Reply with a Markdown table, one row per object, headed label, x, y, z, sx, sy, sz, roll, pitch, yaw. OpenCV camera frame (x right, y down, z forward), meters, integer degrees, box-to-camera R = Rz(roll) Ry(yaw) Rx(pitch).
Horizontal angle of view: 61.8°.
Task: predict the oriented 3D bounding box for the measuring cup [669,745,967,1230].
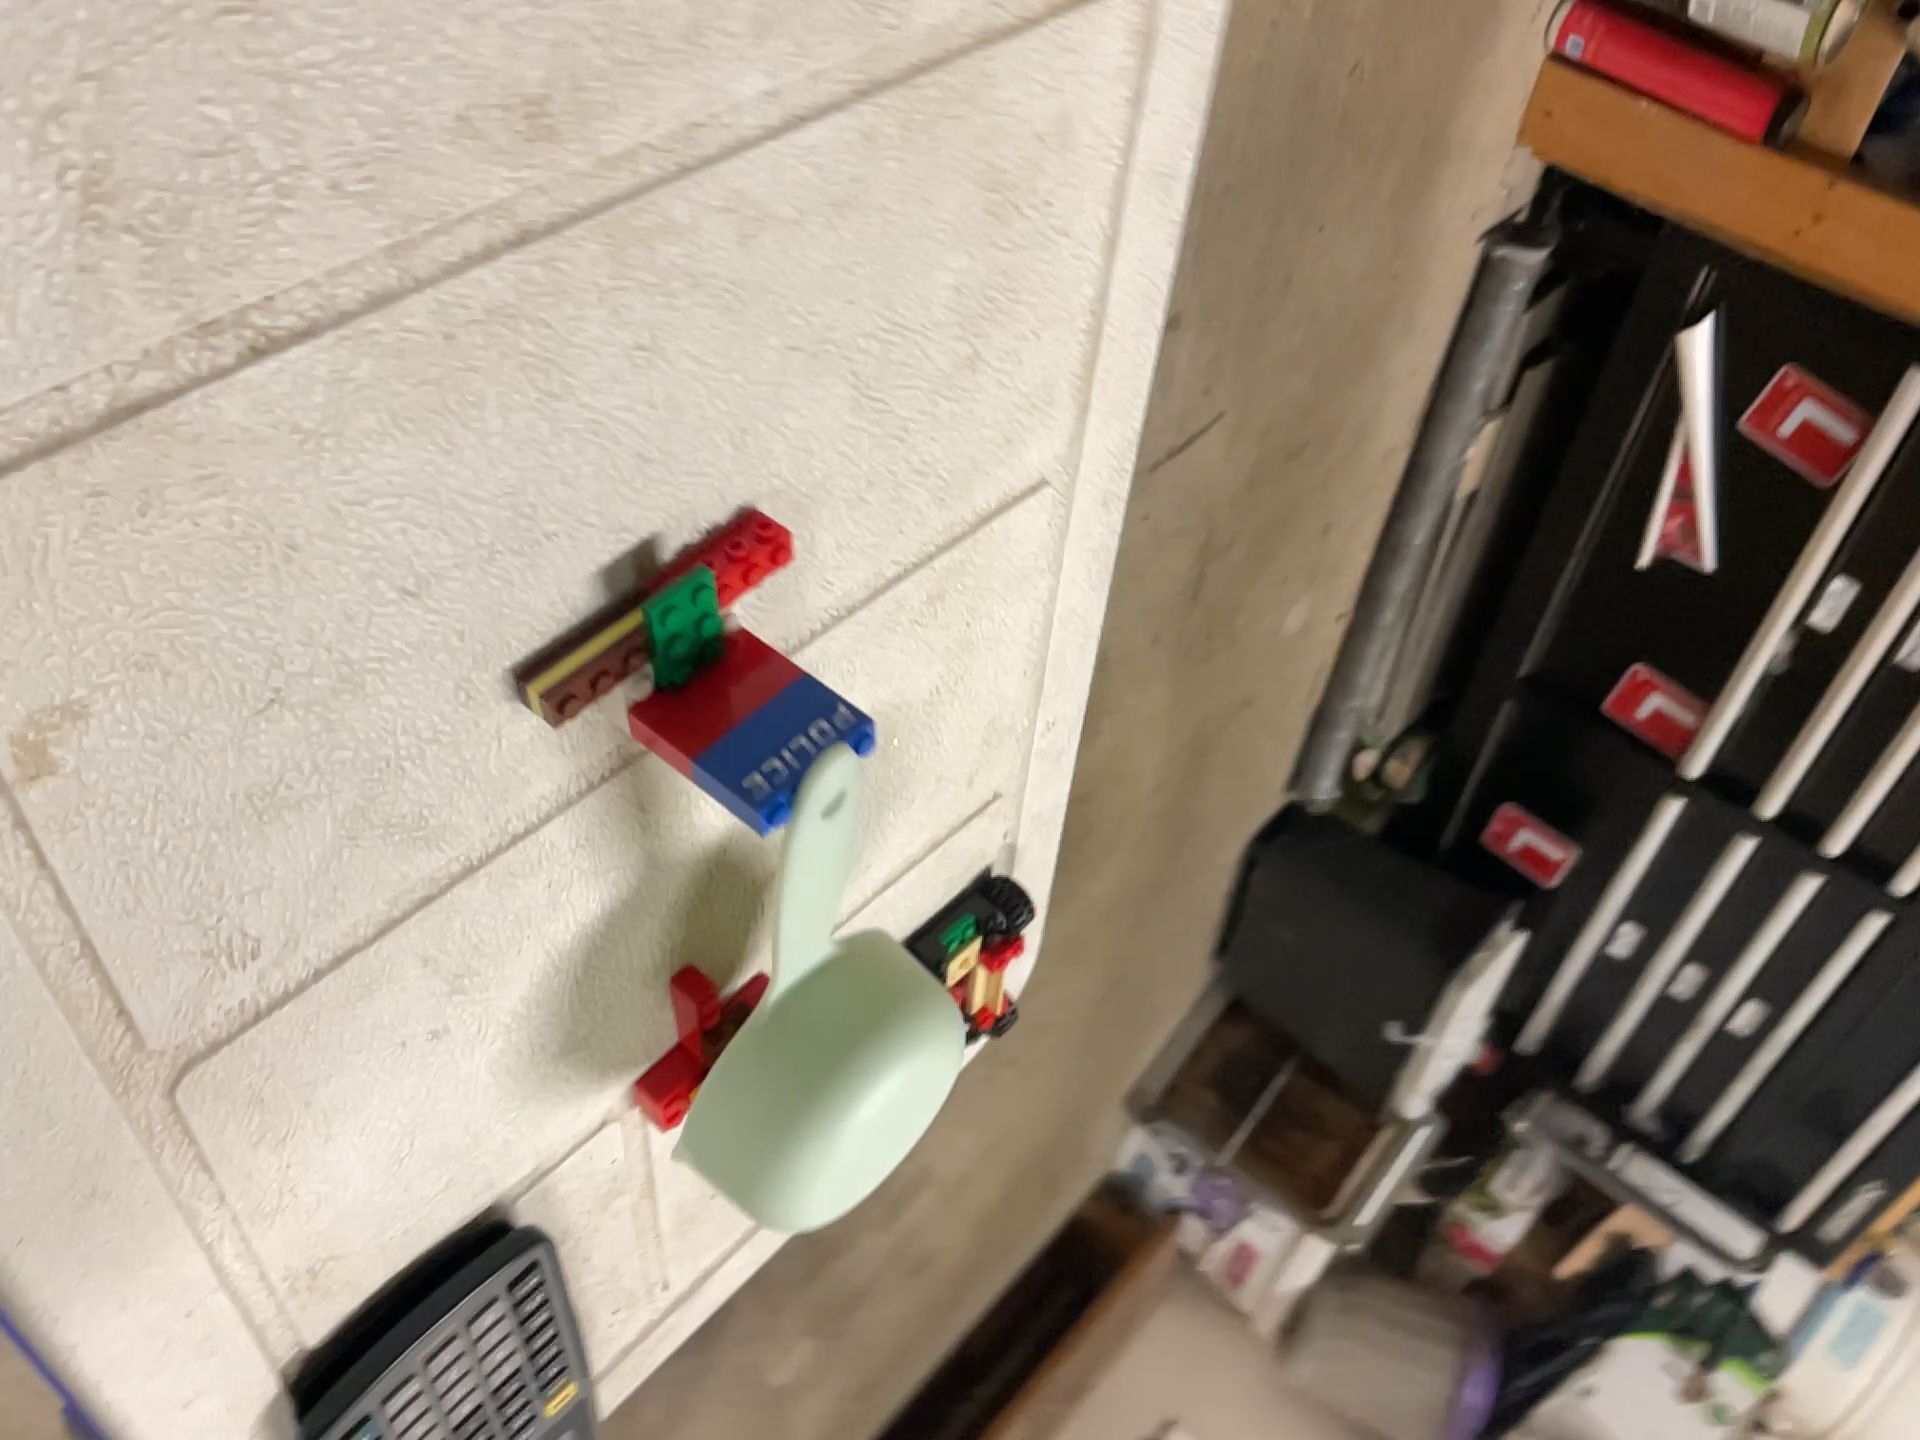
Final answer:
| label | x | y | z | sx | sy | sz | roll | pitch | yaw |
| --- | --- | --- | --- | --- | --- | --- | --- | --- | --- |
| measuring cup | -0.025 | 0.066 | 0.373 | 0.083 | 0.038 | 0.167 | -39 | 157 | -32 |
